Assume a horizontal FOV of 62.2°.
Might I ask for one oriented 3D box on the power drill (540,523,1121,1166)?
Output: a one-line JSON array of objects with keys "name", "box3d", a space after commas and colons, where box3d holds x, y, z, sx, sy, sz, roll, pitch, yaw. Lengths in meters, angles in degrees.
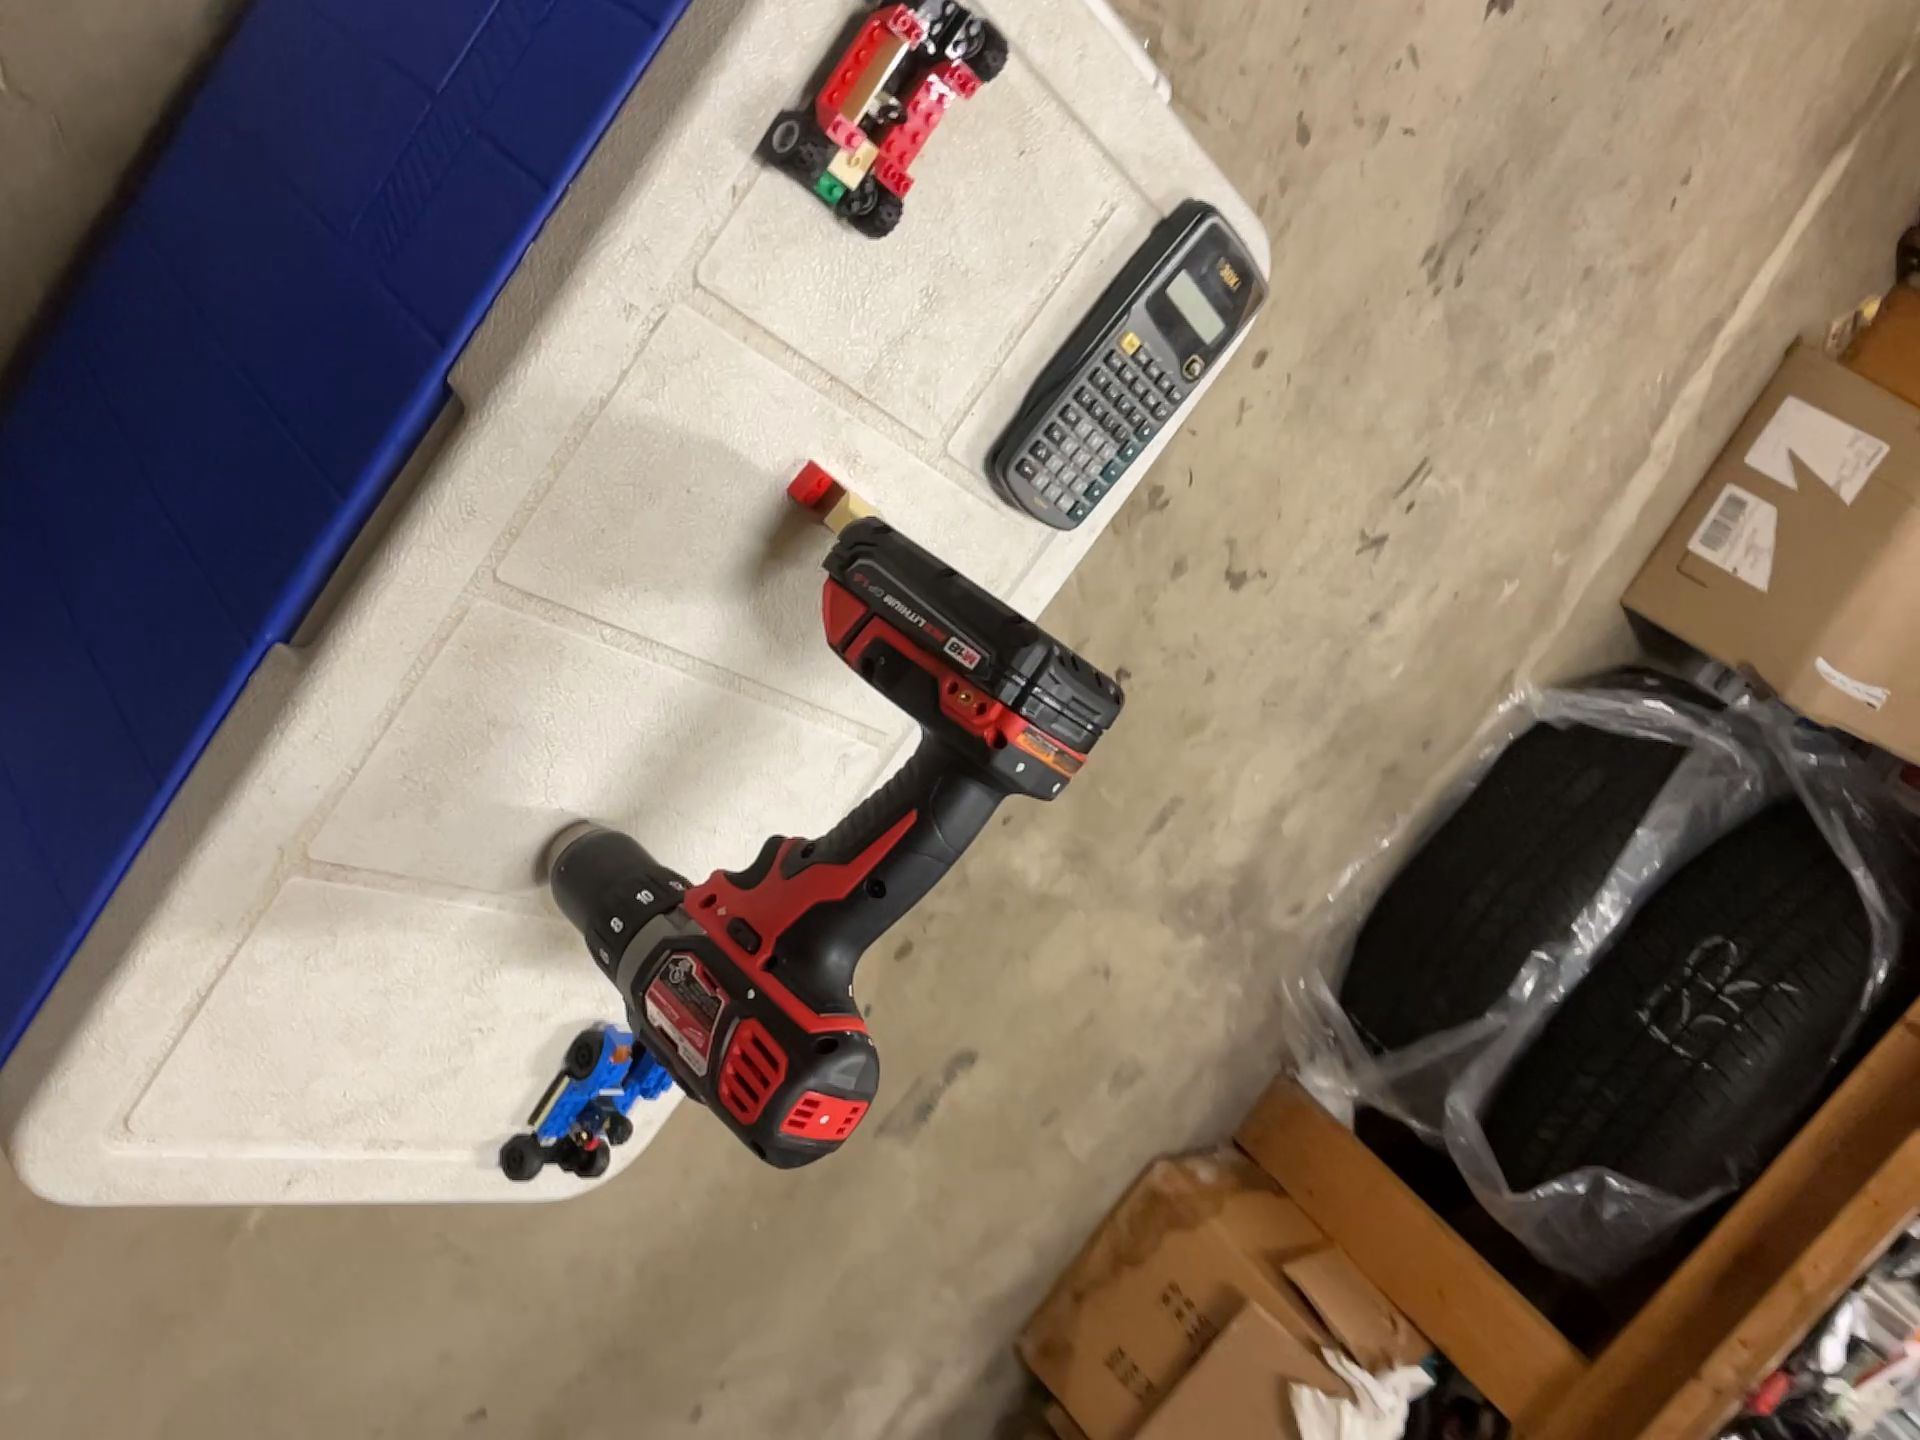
[{"name": "power drill", "box3d": [-0.065, 0.037, 0.643, 0.226, 0.188, 0.080, -55, 146, 3]}]
